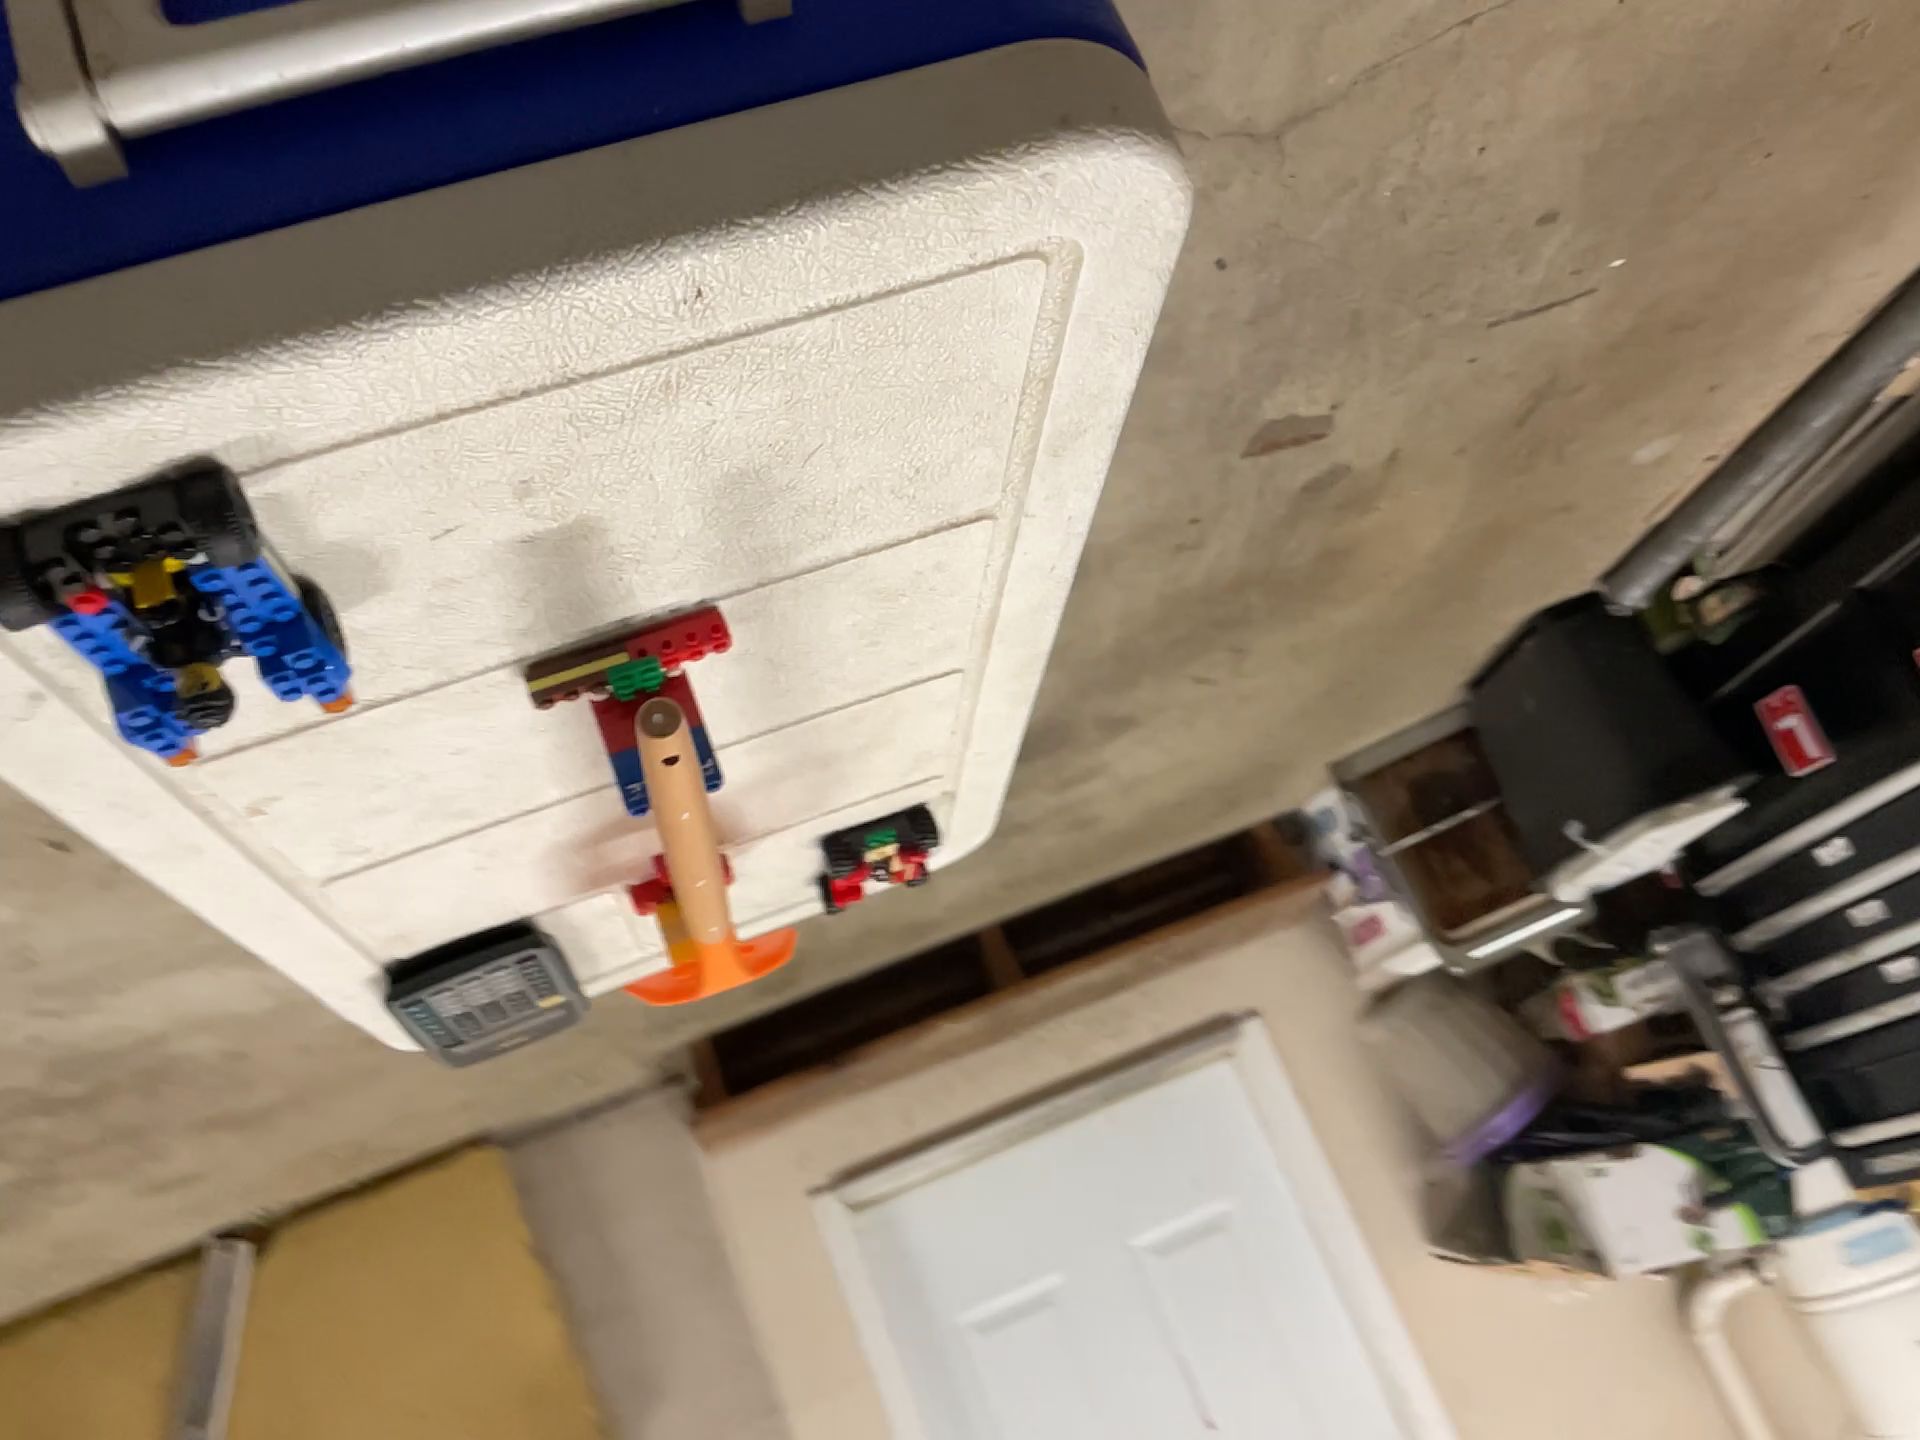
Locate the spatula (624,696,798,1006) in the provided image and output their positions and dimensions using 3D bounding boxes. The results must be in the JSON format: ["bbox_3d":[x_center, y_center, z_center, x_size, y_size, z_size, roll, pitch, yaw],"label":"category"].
[{"bbox_3d":[-0.096,0.059,0.577,0.081,0.041,0.322,-18,158,-12],"label":"spatula"}]
